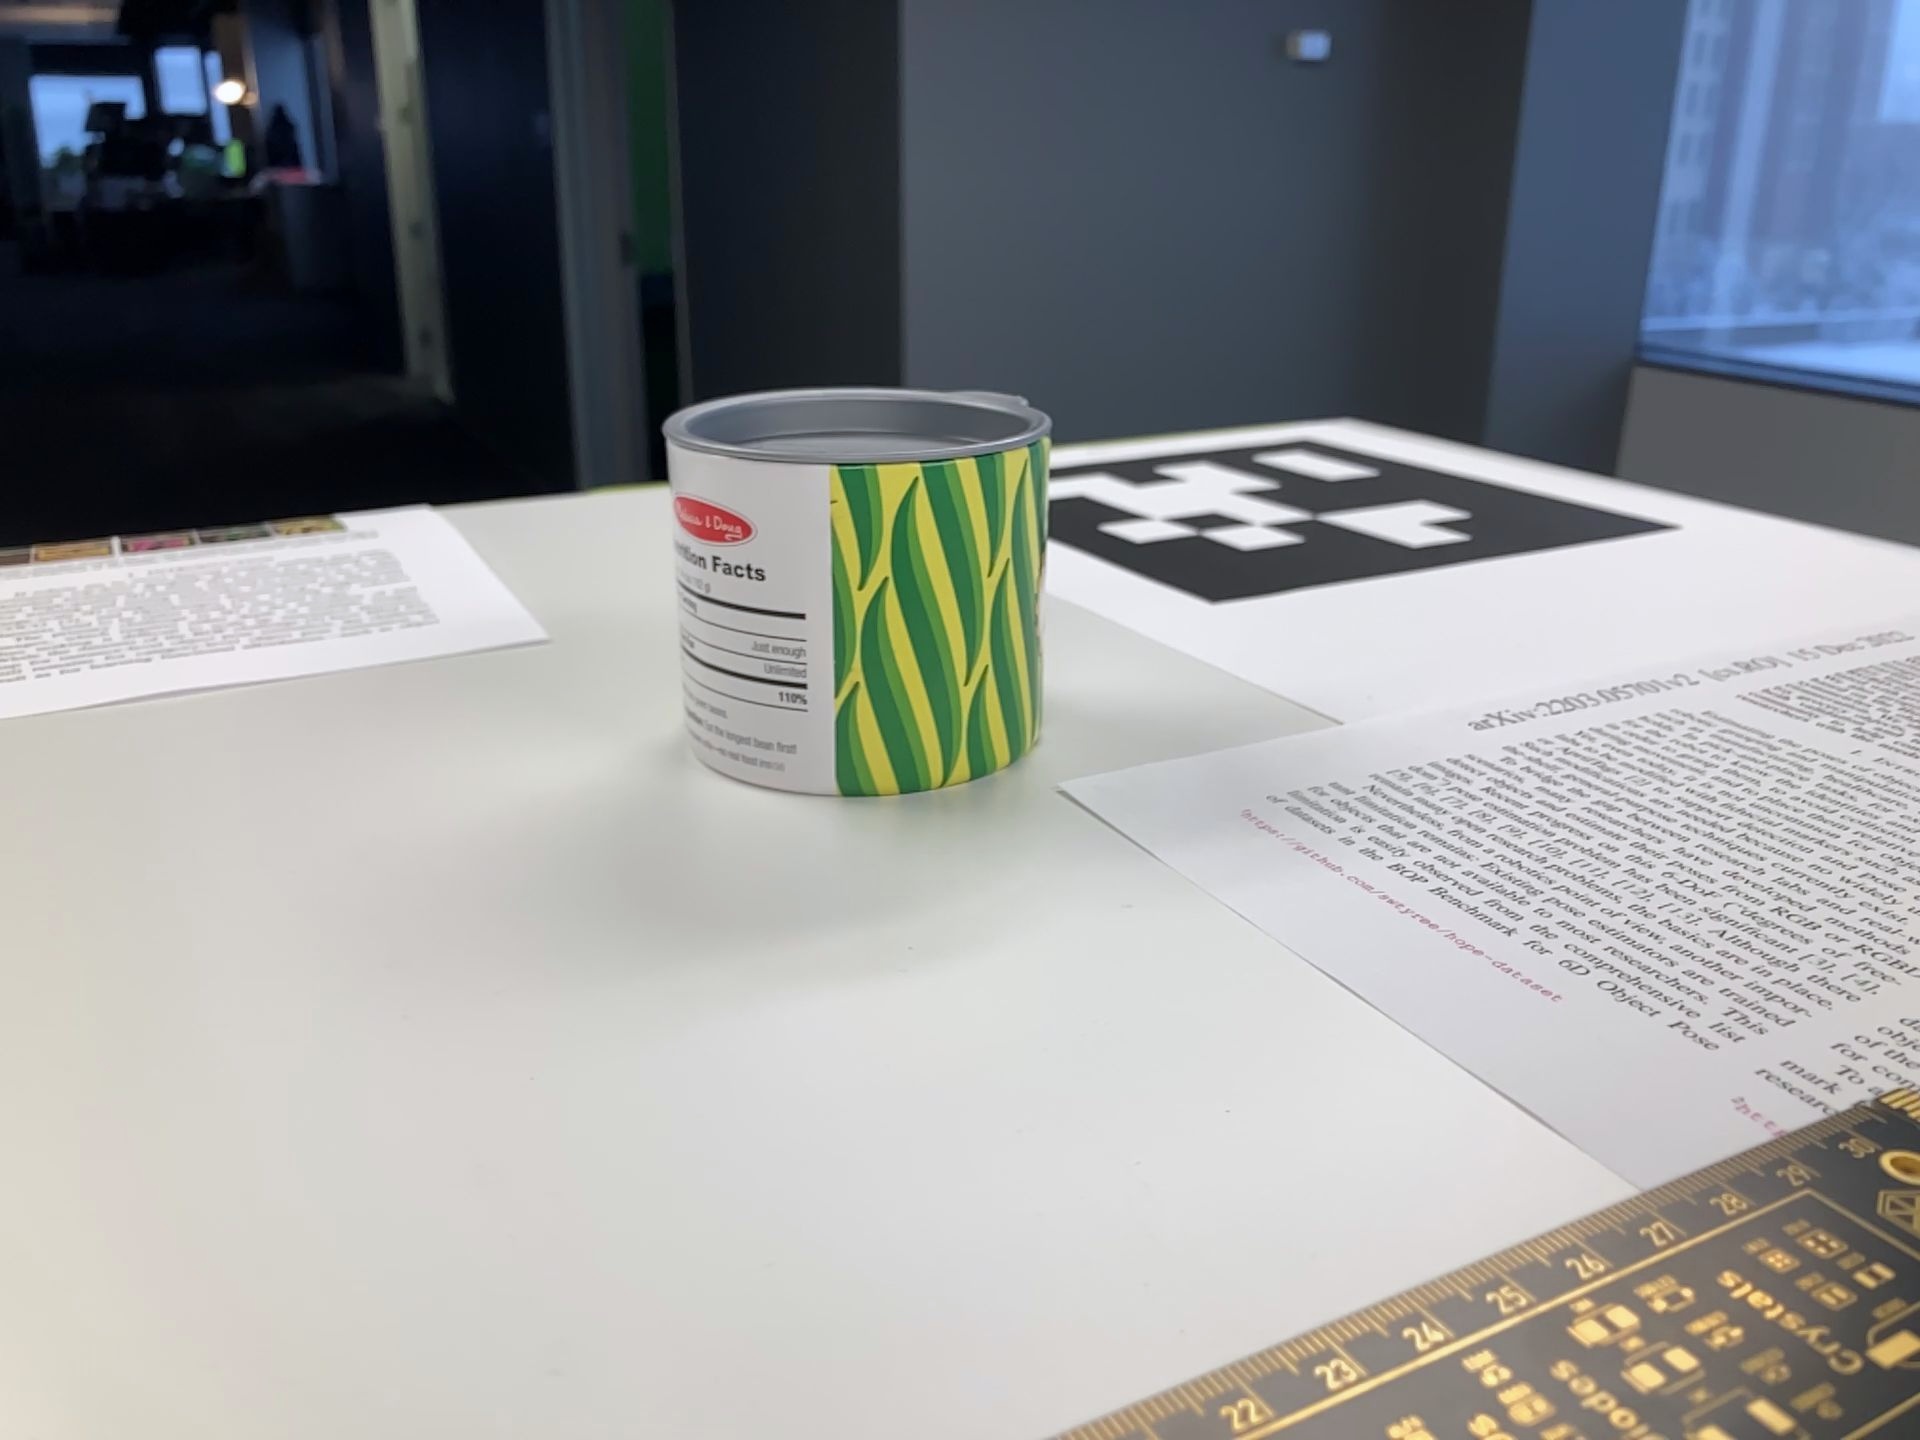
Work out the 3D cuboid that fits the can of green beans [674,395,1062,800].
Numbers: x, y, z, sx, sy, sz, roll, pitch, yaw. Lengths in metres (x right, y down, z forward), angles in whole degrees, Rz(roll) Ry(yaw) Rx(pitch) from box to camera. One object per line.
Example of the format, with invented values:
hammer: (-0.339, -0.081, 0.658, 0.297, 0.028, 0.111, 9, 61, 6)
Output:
can of green beans: (-0.016, -0.024, 0.285, 0.071, 0.058, 0.071, 0, 20, 0)
